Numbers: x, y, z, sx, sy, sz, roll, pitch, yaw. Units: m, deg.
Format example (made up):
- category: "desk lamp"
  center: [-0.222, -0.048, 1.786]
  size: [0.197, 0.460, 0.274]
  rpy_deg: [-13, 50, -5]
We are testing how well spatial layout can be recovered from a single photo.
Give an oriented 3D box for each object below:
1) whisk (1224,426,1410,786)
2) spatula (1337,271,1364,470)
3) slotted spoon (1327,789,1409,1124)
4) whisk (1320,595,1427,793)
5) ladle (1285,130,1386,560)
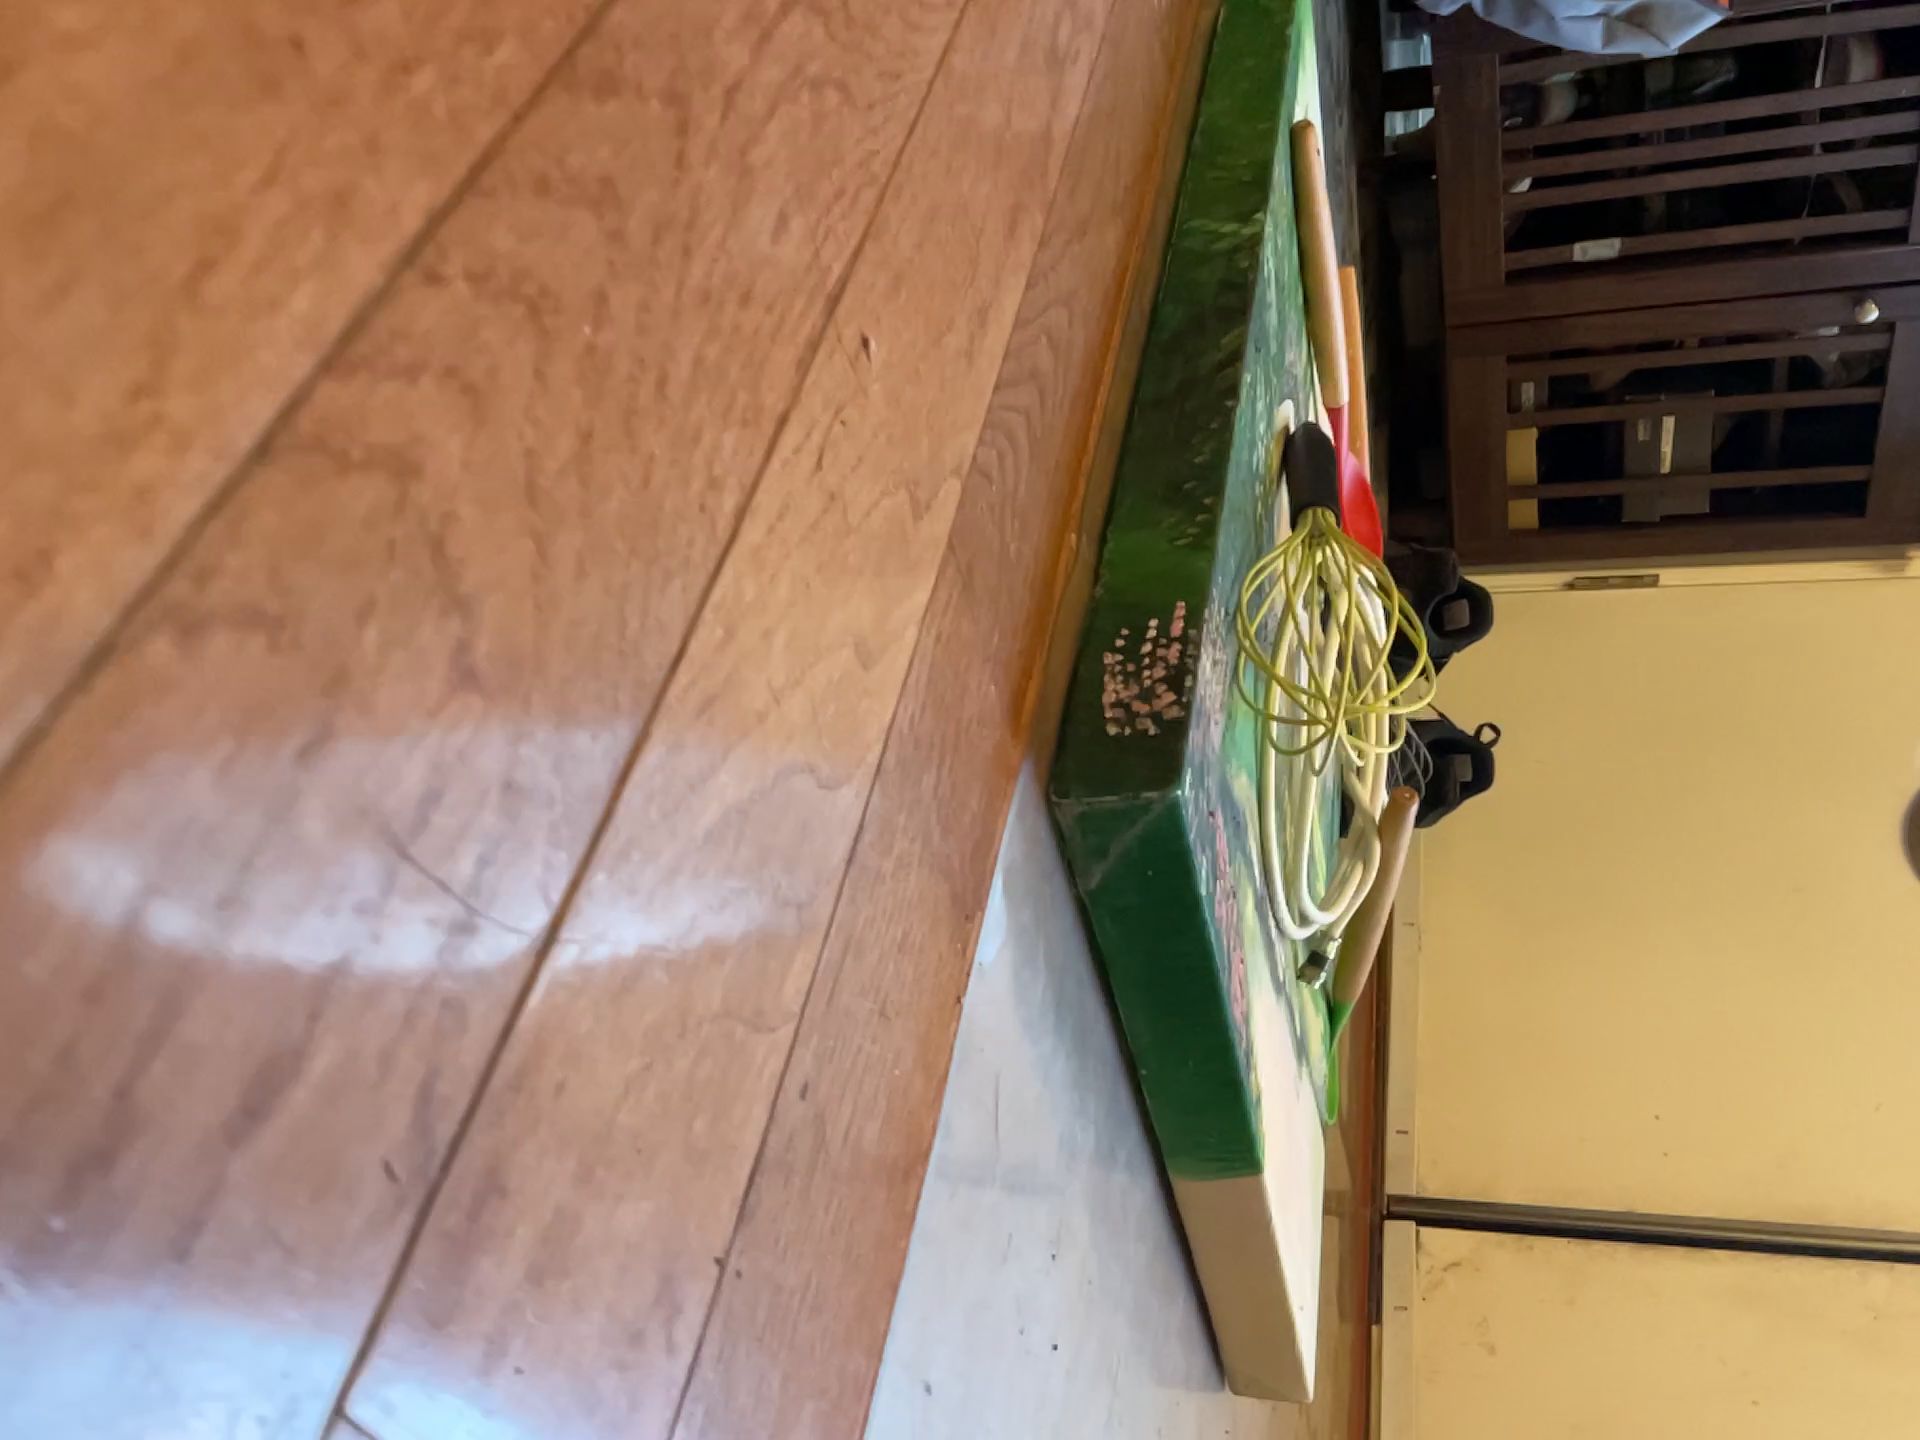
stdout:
- category: "whisk"
  center: [0.148, -0.069, 0.673]
  size: [0.312, 0.067, 0.080]
  rpy_deg: [-71, 159, -59]
- category: "spatula"
  center: [0.256, -0.135, 1.070]
  size: [0.081, 0.041, 0.322]
  rpy_deg: [-75, 157, -69]
- category: "slotted spoon"
  center: [0.217, 0.136, 0.885]
  size: [0.313, 0.031, 0.070]
  rpy_deg: [86, 15, -50]
- category: "whisk"
  center: [0.249, -0.017, 0.982]
  size: [0.238, 0.055, 0.055]
  rpy_deg: [57, 25, -48]
- category: "ladle"
  center: [0.211, -0.199, 0.904]
  size: [0.315, 0.031, 0.069]
  rpy_deg: [62, 31, -50]
